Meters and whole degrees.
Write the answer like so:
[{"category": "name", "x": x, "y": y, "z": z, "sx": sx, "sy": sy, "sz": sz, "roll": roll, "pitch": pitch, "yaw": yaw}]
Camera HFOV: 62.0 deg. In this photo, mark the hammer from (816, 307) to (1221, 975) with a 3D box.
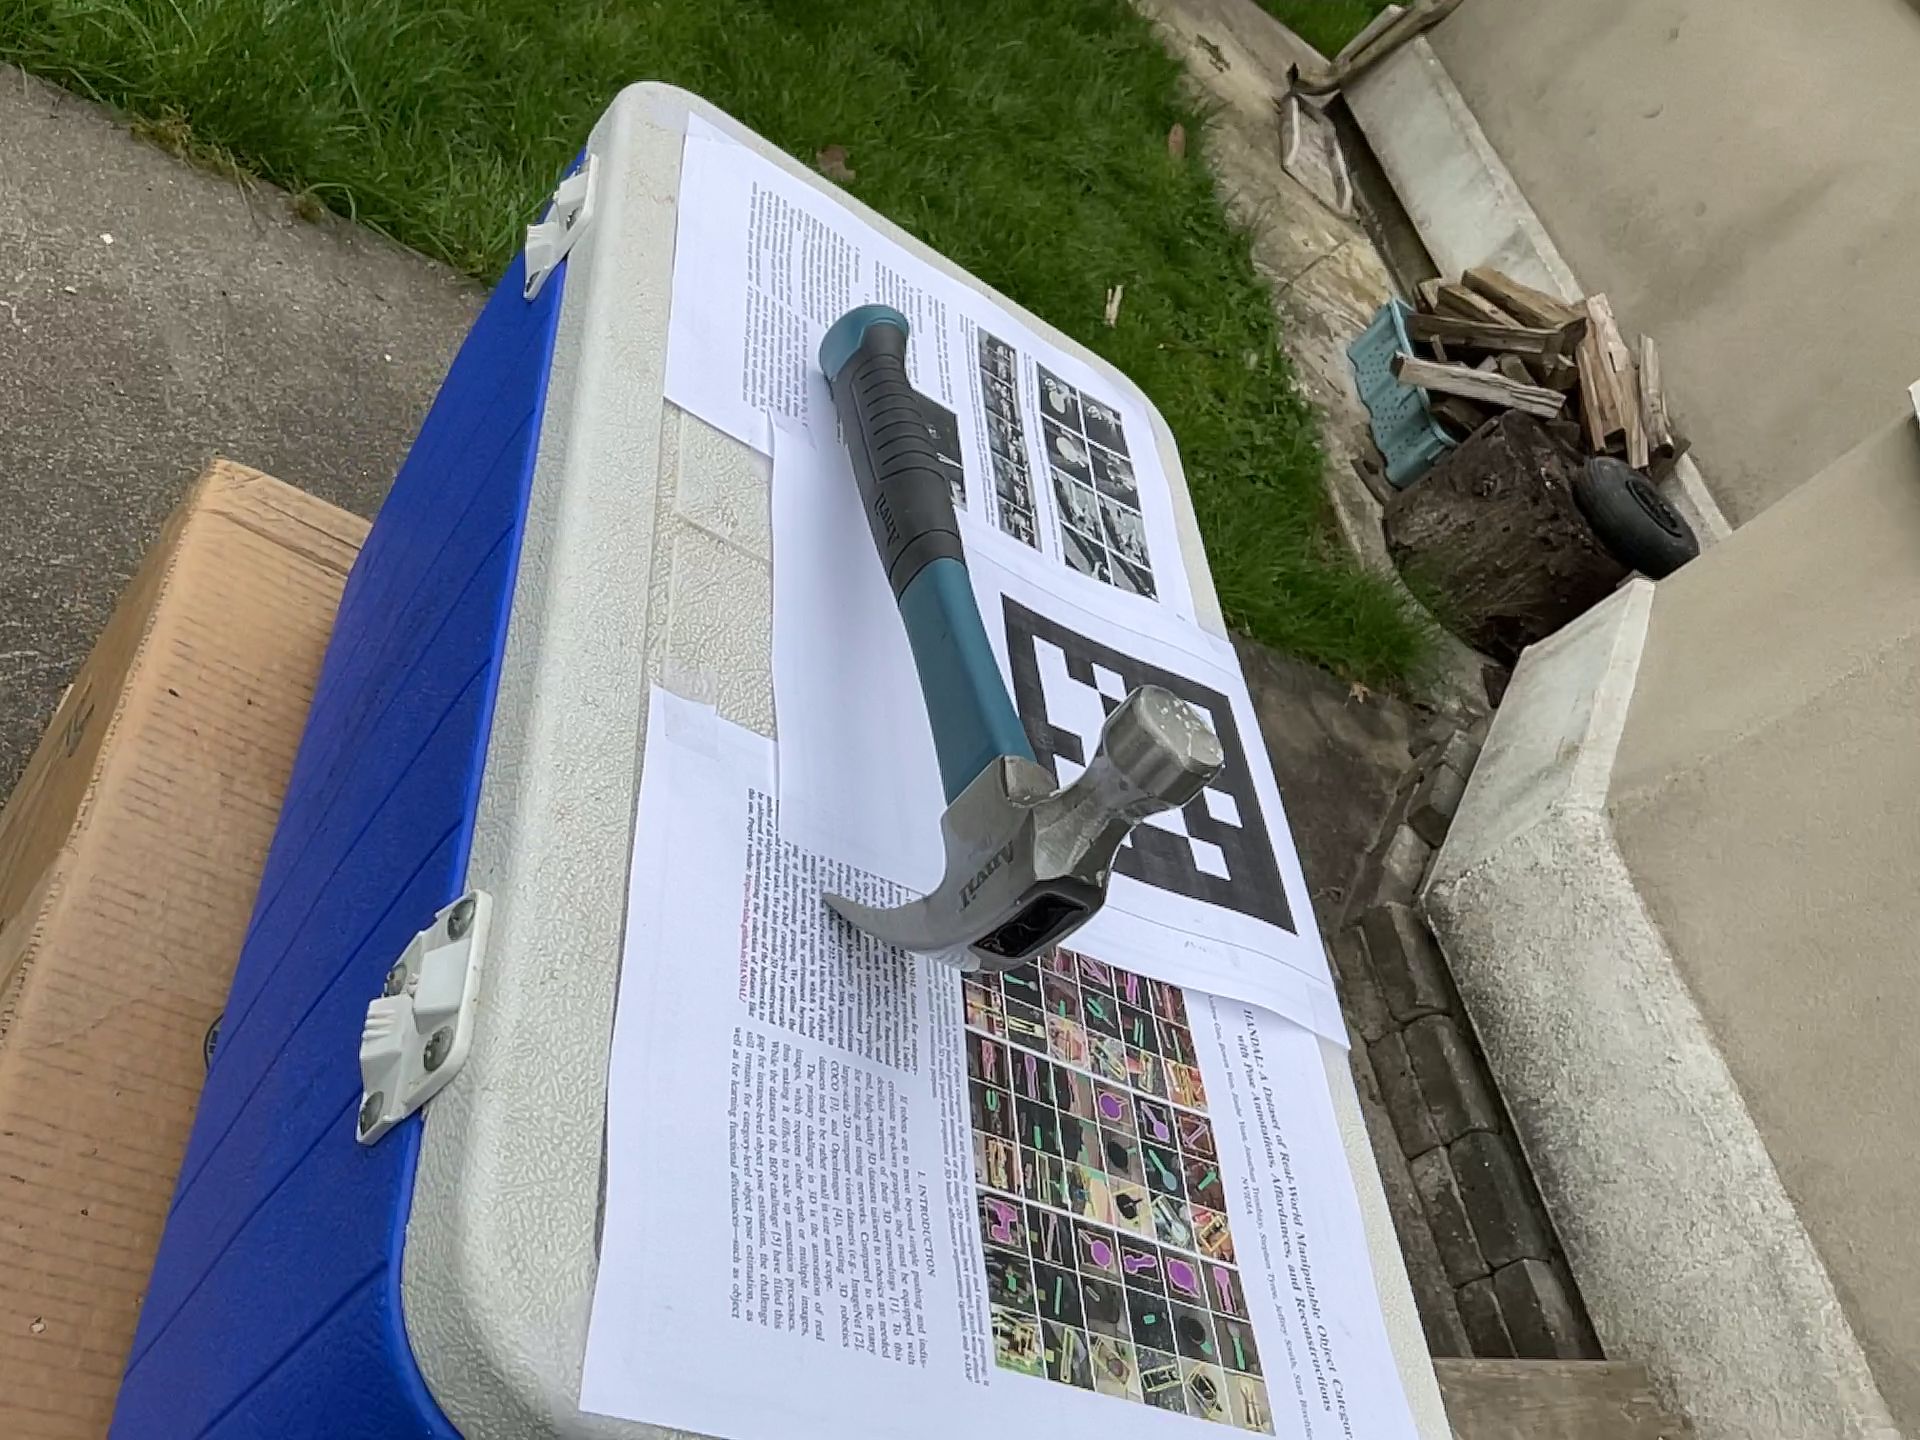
[{"category": "hammer", "x": -0.011, "y": -0.052, "z": 0.538, "sx": 0.033, "sy": 0.128, "sz": 0.331, "roll": 26, "pitch": 30, "yaw": -31}]
